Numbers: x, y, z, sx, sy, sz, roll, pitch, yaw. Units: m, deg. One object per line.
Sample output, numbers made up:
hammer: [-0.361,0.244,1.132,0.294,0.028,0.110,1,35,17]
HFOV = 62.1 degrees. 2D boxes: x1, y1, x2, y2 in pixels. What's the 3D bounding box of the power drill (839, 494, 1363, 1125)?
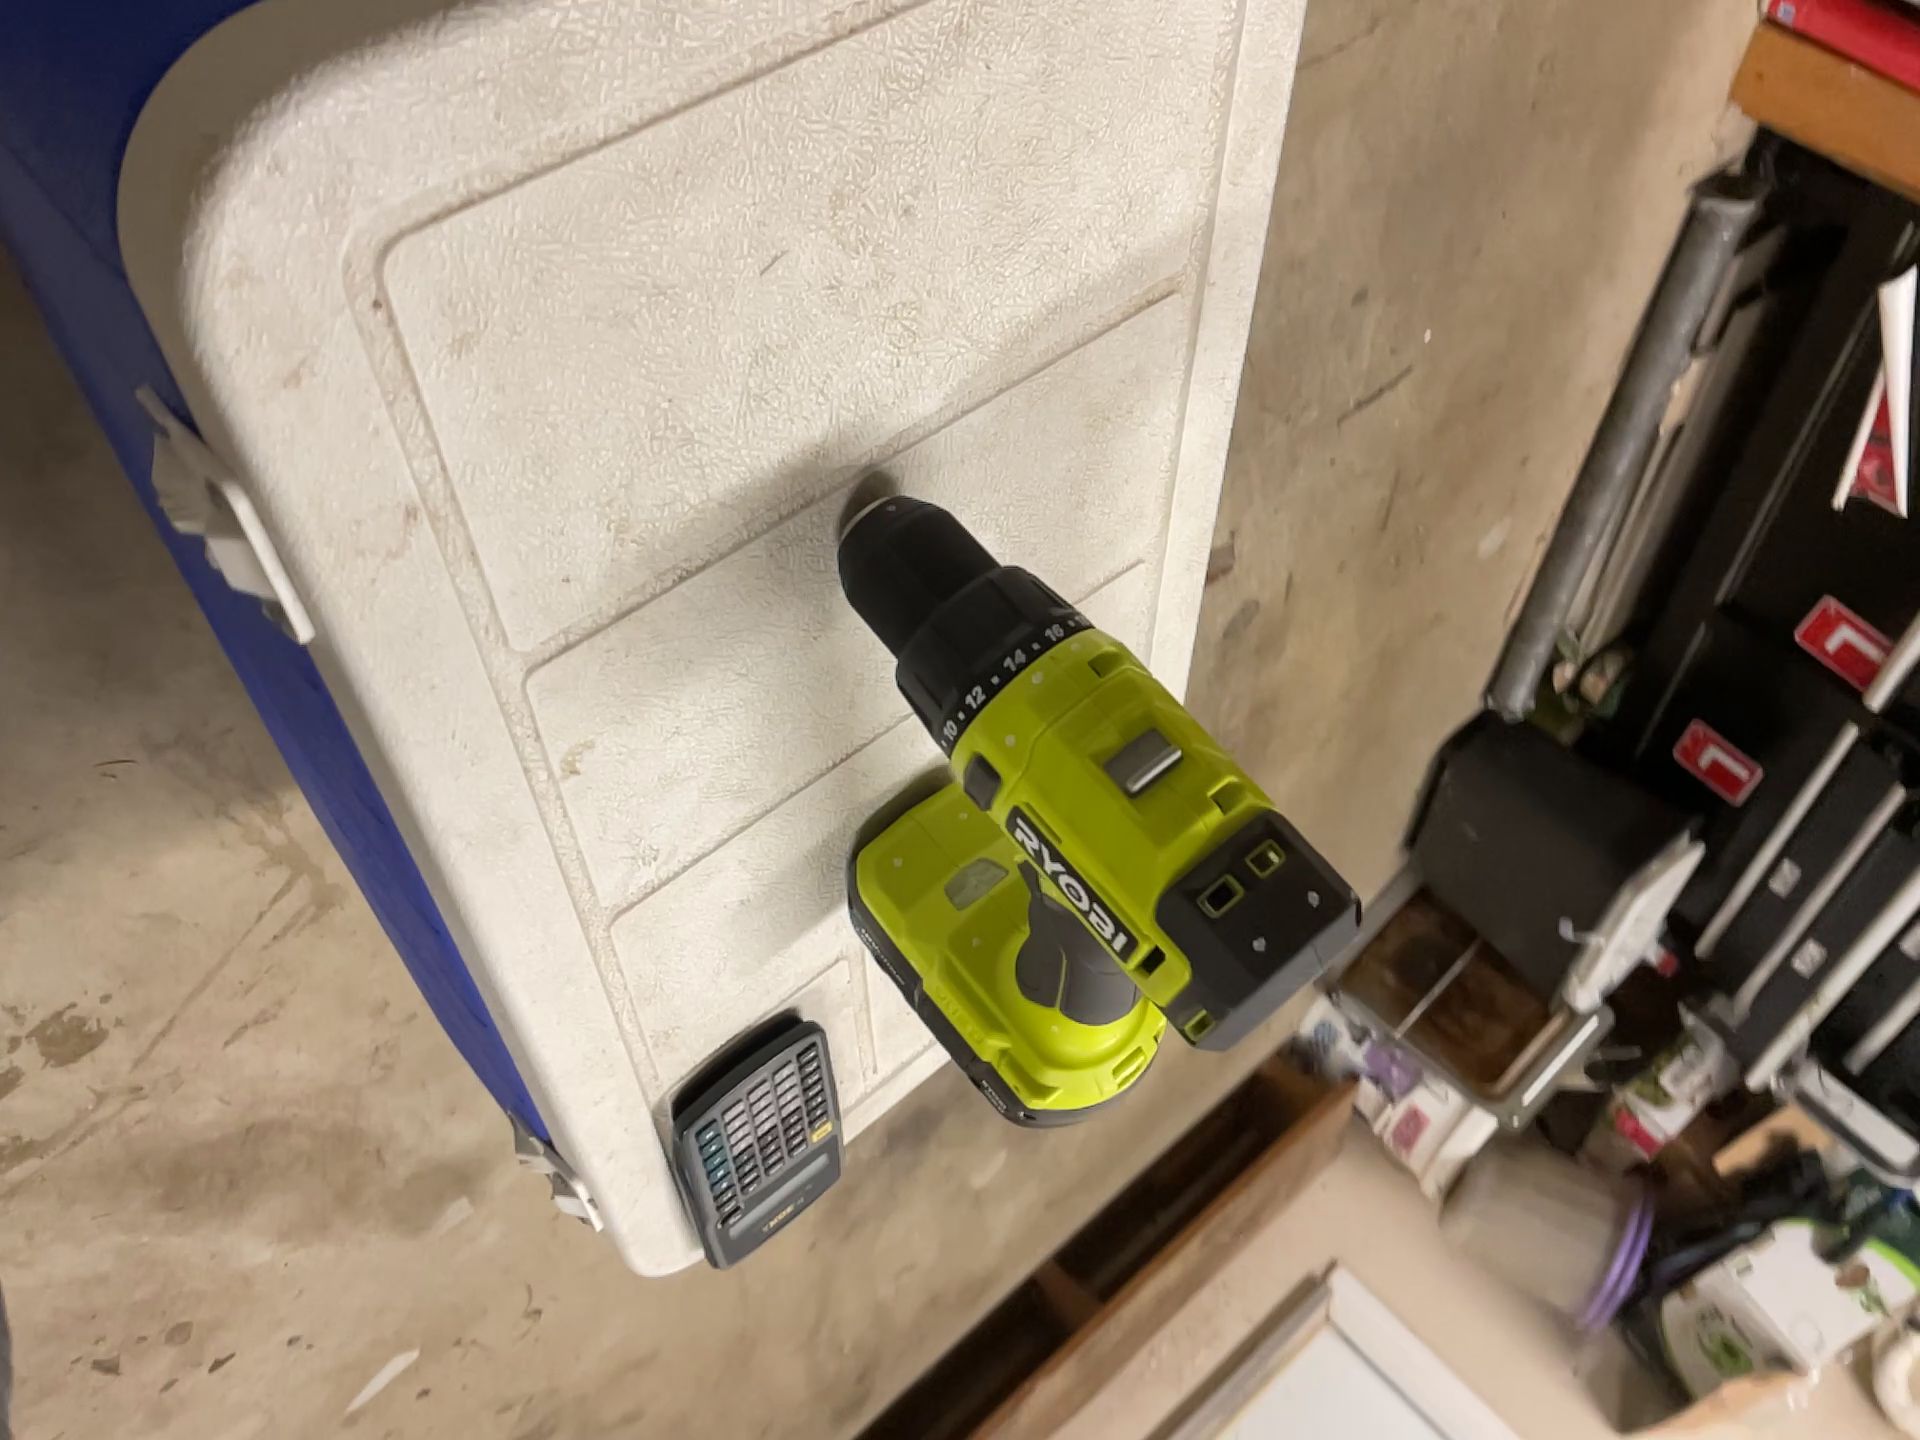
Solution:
power drill: [0.022,0.041,0.544,0.080,0.190,0.228,-36,165,-22]
